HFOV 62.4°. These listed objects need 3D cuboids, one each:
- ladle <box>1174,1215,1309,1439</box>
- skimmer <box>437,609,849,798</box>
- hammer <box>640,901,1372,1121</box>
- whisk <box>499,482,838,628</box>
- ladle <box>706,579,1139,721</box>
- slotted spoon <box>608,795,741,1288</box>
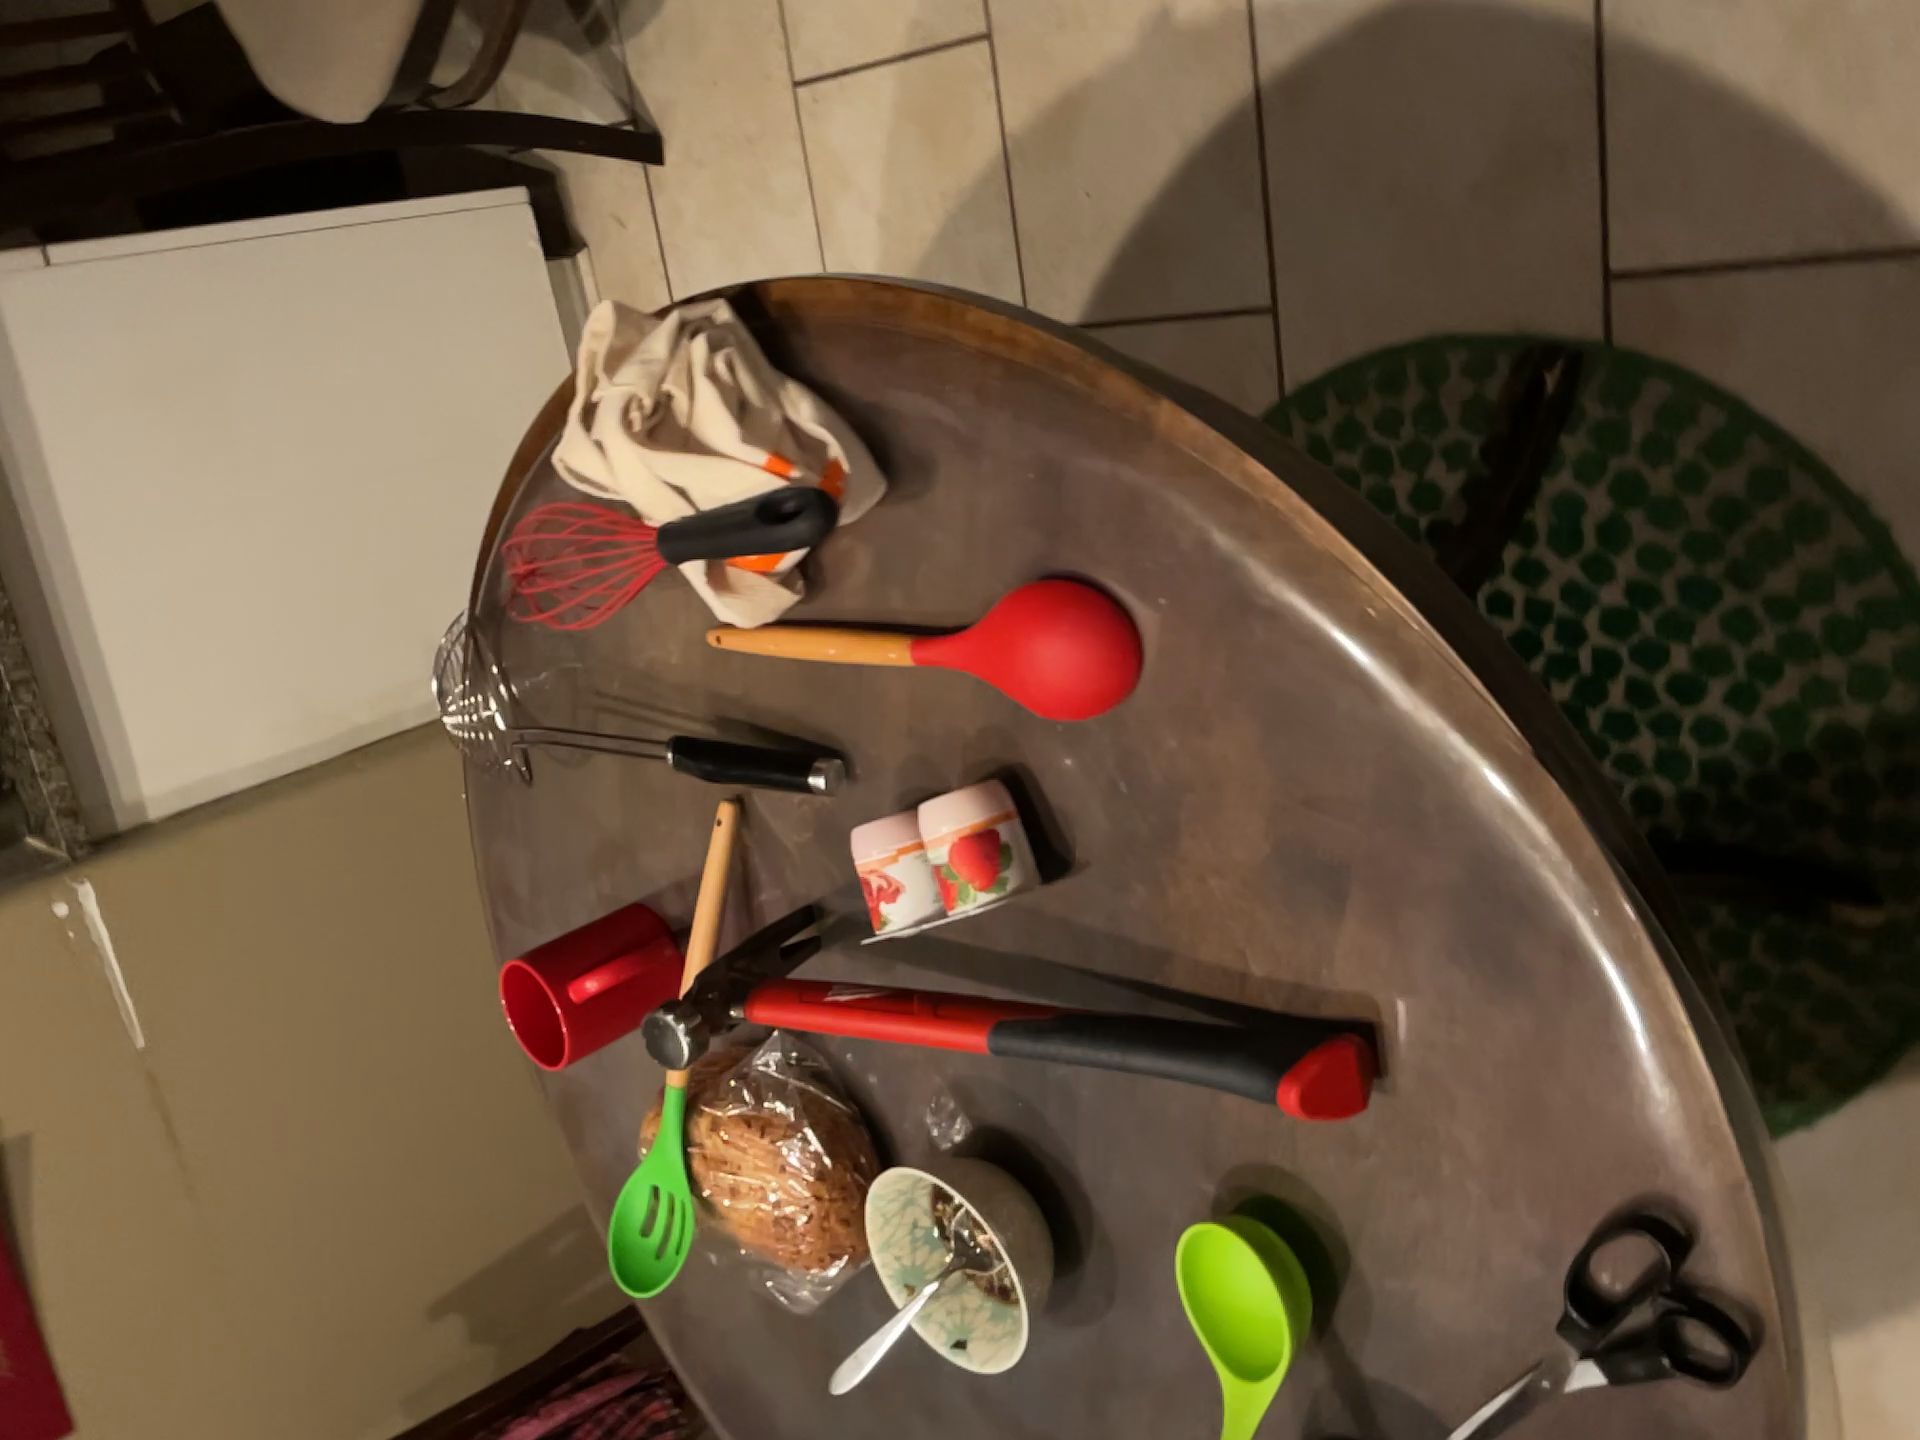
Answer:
[{"bbox_3d":[0.098,0.387,0.716,0.062,0.320,0.078,27,157,-21],"label":"ladle"},{"bbox_3d":[-0.204,0.000,1.006,0.364,0.090,0.127,7,122,33],"label":"skimmer"},{"bbox_3d":[0.023,0.148,0.809,0.387,0.143,0.038,0,110,34],"label":"hammer"},{"bbox_3d":[-0.164,-0.094,0.847,0.296,0.073,0.073,-3,105,46],"label":"whisk"},{"bbox_3d":[-0.038,-0.039,0.819,0.316,0.031,0.069,6,112,47],"label":"ladle"},{"bbox_3d":[-0.170,0.200,0.990,0.070,0.031,0.314,15,96,36],"label":"slotted spoon"}]
